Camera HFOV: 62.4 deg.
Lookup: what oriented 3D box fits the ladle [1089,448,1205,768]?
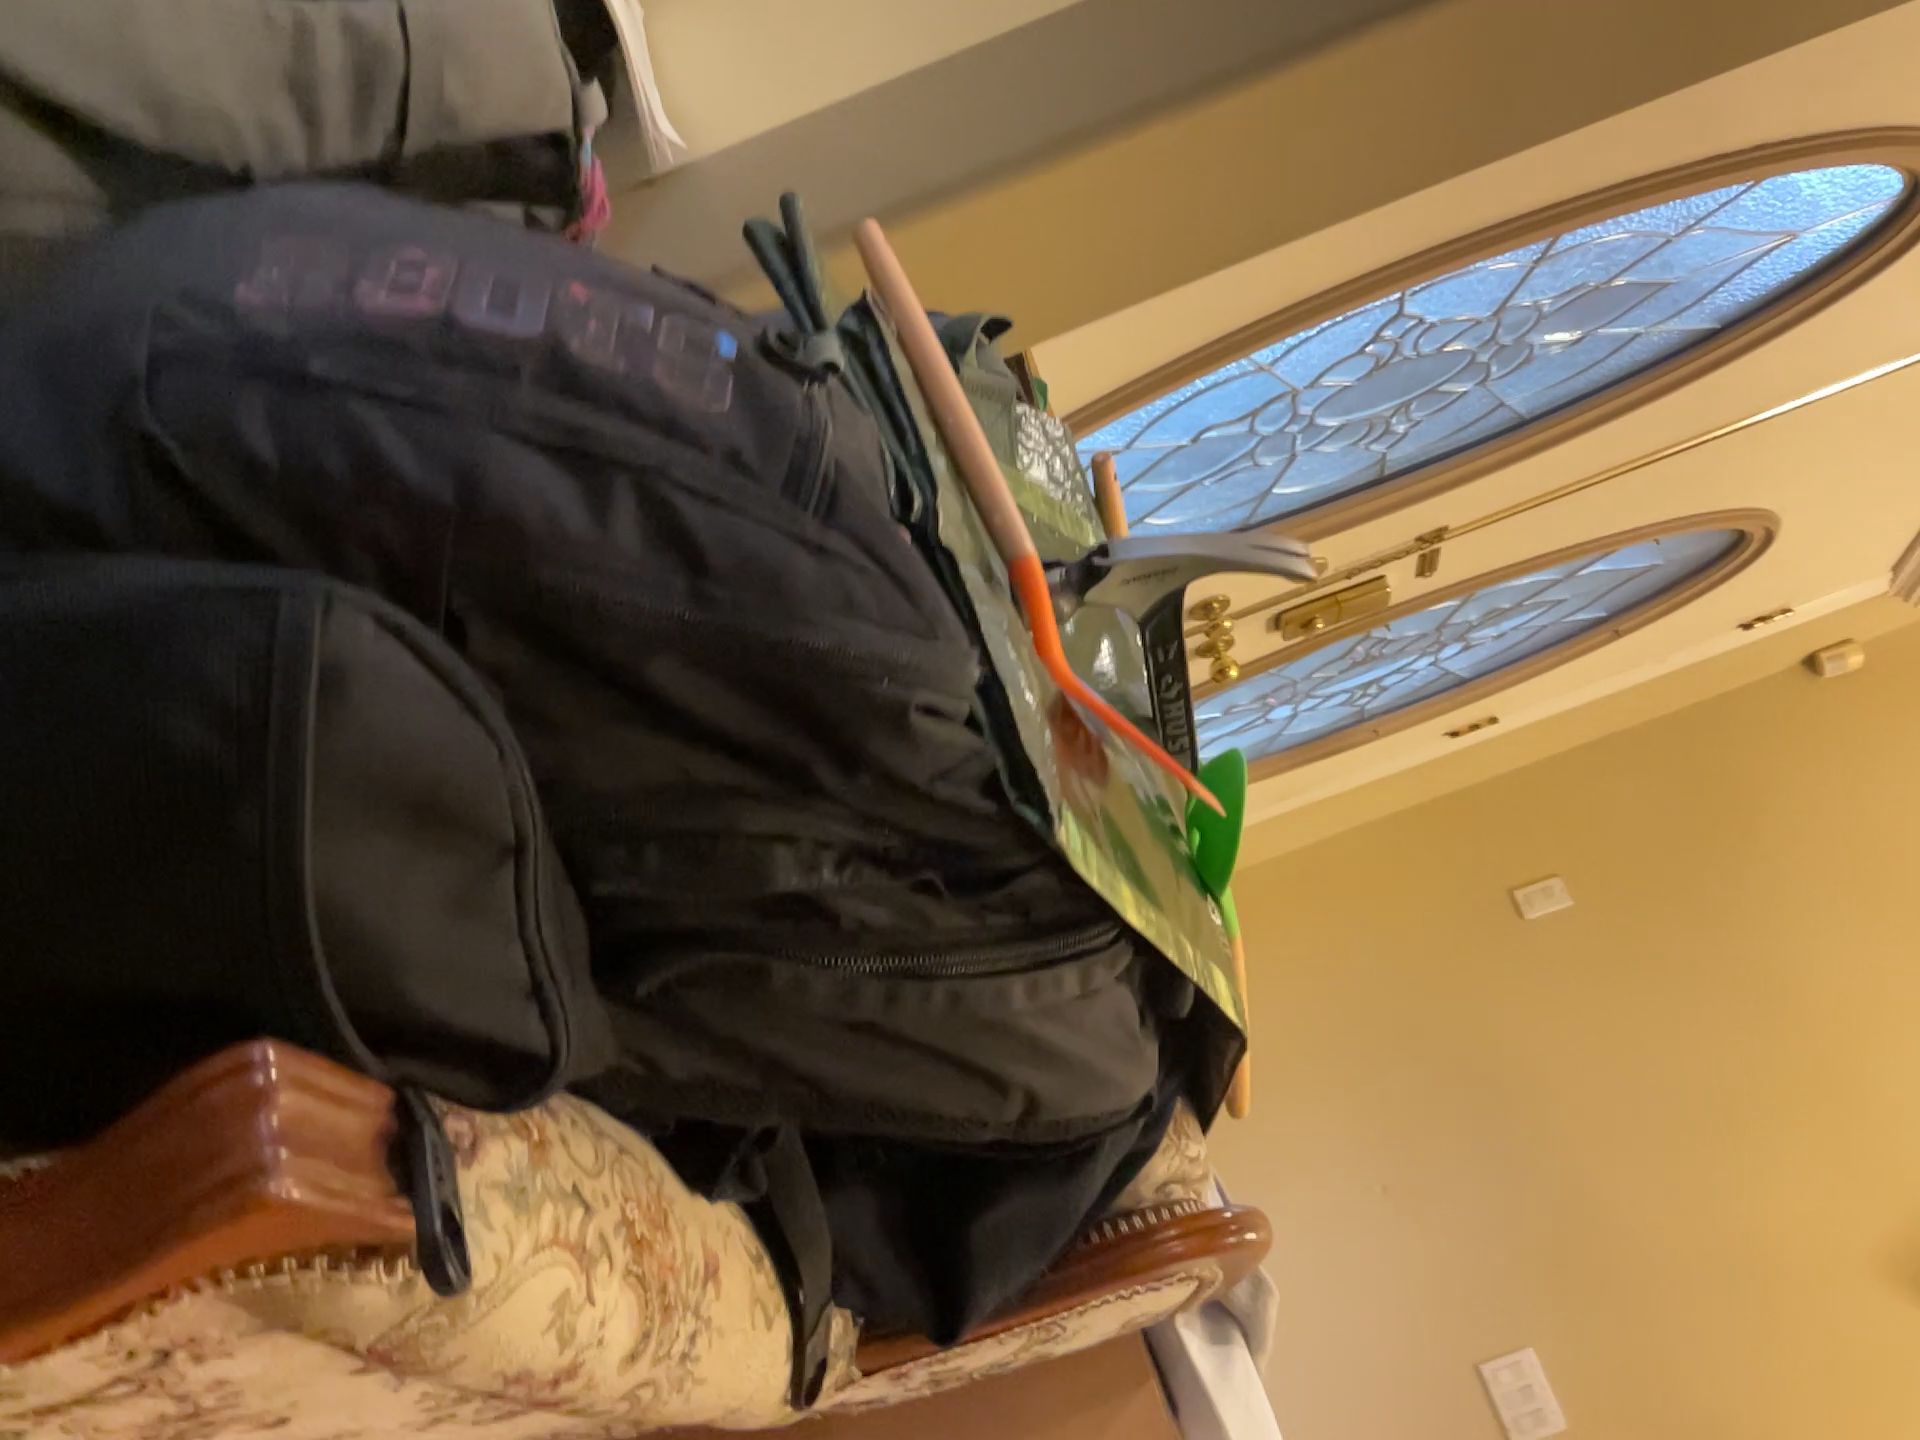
[{"bbox_3d":[0.122,-0.040,1.015,0.319,0.062,0.078,75,24,-43],"label":"ladle"}]

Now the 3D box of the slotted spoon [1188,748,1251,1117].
[{"bbox_3d":[0.146,0.133,0.869,0.313,0.031,0.070,78,10,-45],"label":"slotted spoon"}]

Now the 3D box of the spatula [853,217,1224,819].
[{"bbox_3d":[0.025,-0.094,0.694,0.323,0.041,0.081,66,10,17],"label":"spatula"}]

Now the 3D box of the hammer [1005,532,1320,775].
[{"bbox_3d":[0.132,0.056,0.898,0.036,0.149,0.408,-95,173,-46],"label":"hammer"}]
